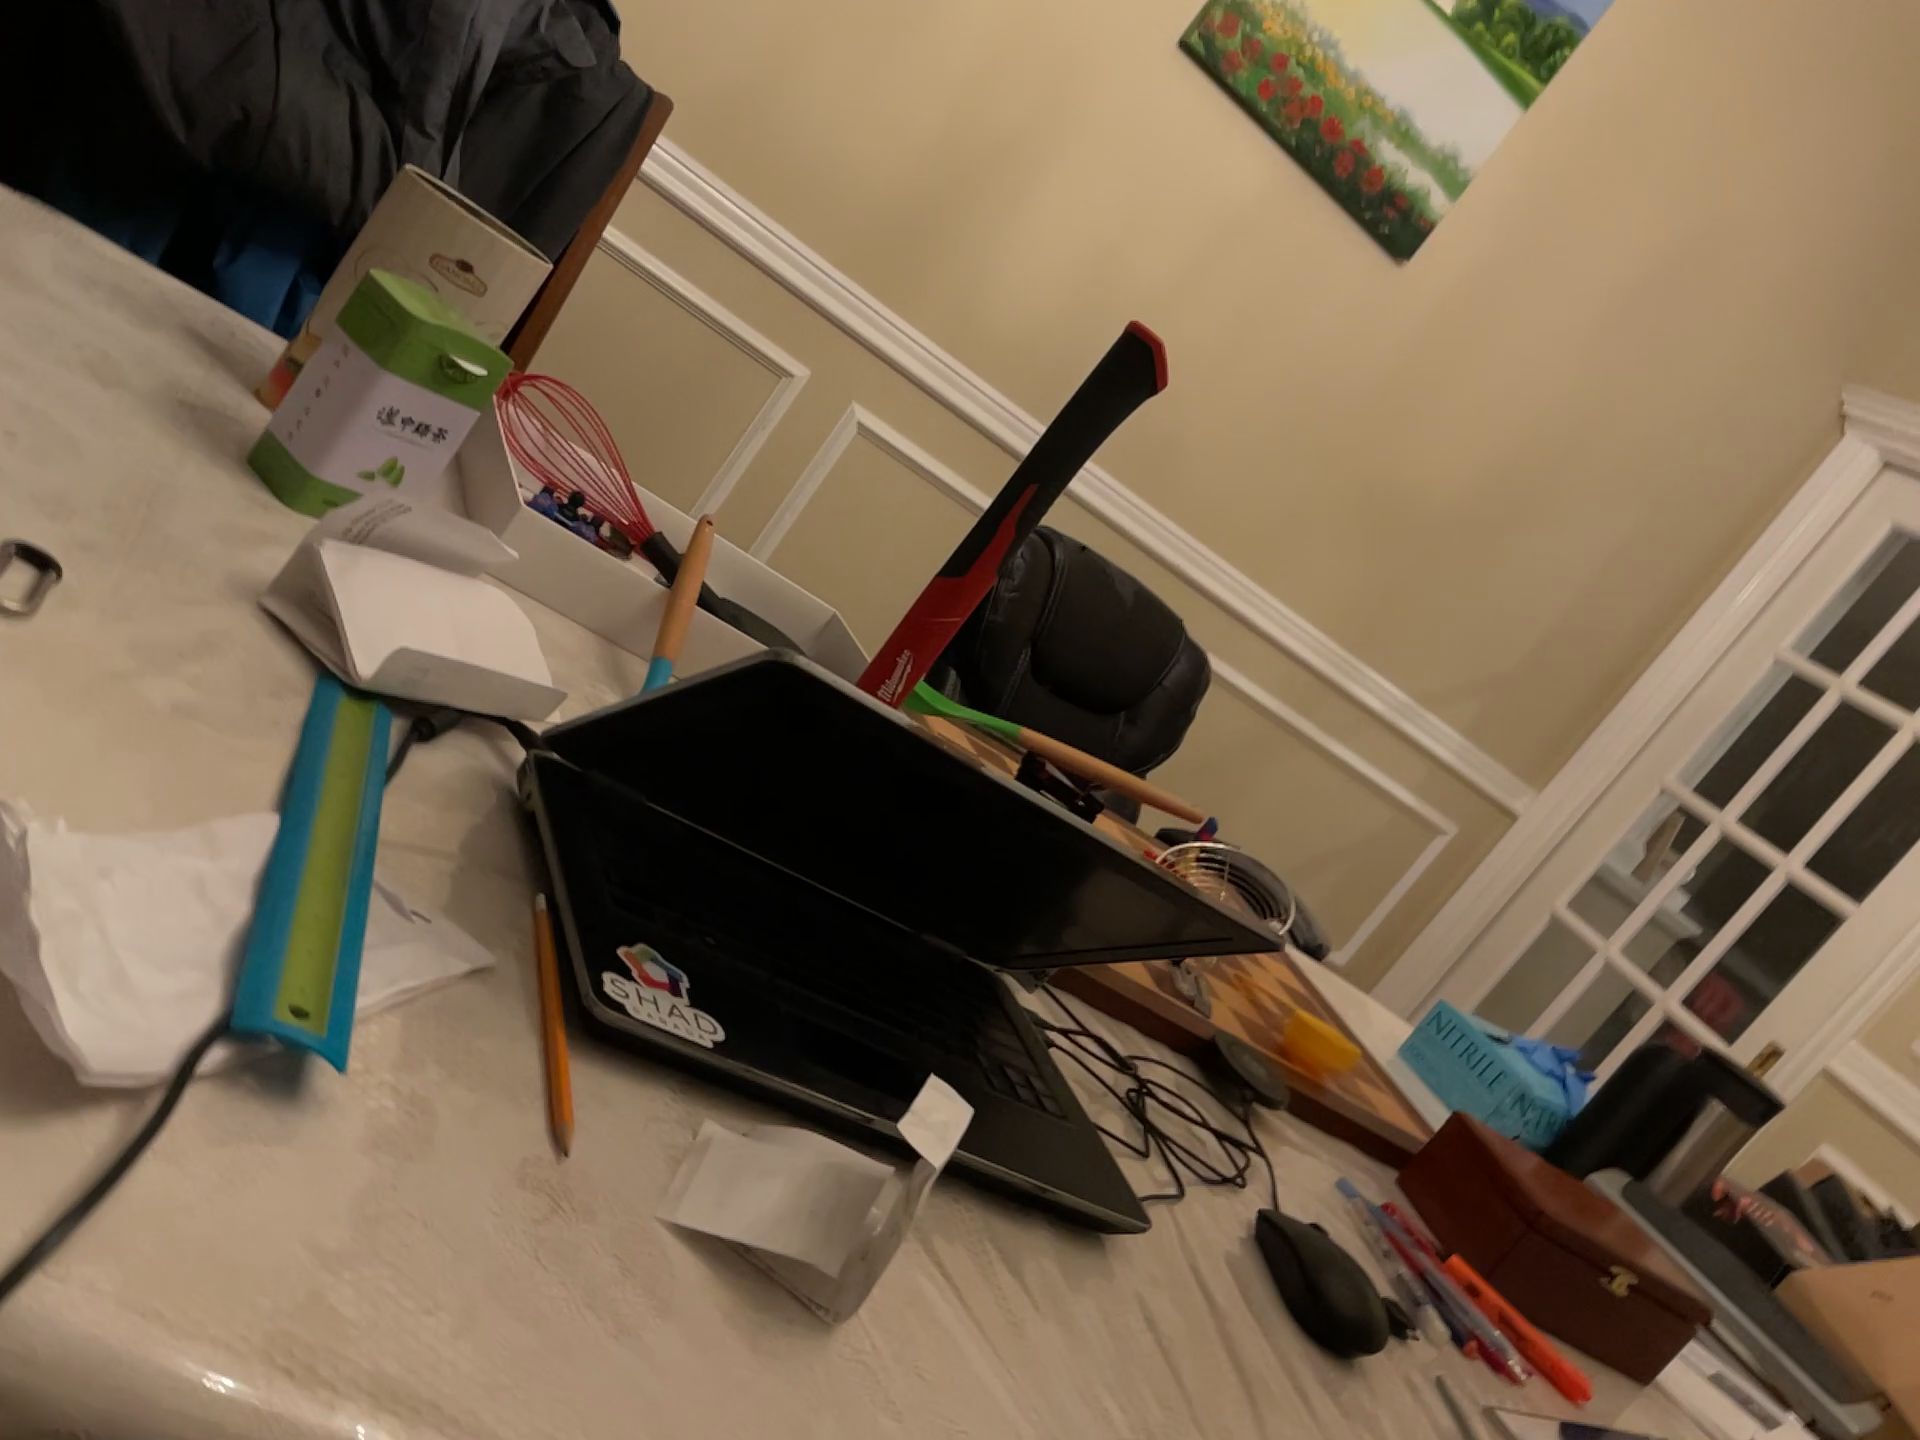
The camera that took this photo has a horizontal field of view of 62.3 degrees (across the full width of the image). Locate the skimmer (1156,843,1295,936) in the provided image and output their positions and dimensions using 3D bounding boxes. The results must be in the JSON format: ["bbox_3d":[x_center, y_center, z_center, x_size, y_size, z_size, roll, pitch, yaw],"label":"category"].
[{"bbox_3d":[0.156,0.113,1.288,0.362,0.090,0.128,30,14,-51],"label":"skimmer"}]

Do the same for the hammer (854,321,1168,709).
[{"bbox_3d":[-0.008,-0.101,1.032,0.143,0.386,0.038,32,12,-24],"label":"hammer"}]

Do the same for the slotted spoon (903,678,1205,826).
[{"bbox_3d":[0.071,0.023,1.323,0.313,0.031,0.070,25,12,-15],"label":"slotted spoon"}]

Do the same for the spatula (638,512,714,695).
[{"bbox_3d":[-0.185,-0.057,1.048,0.082,0.044,0.318,31,33,-21],"label":"spatula"}]

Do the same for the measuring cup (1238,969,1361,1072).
[{"bbox_3d":[0.270,0.247,1.318,0.062,0.029,0.157,28,1,-27],"label":"measuring cup"}]

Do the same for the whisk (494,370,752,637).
[{"bbox_3d":[-0.261,-0.158,1.259,0.296,0.073,0.073,50,28,-5],"label":"whisk"}]
